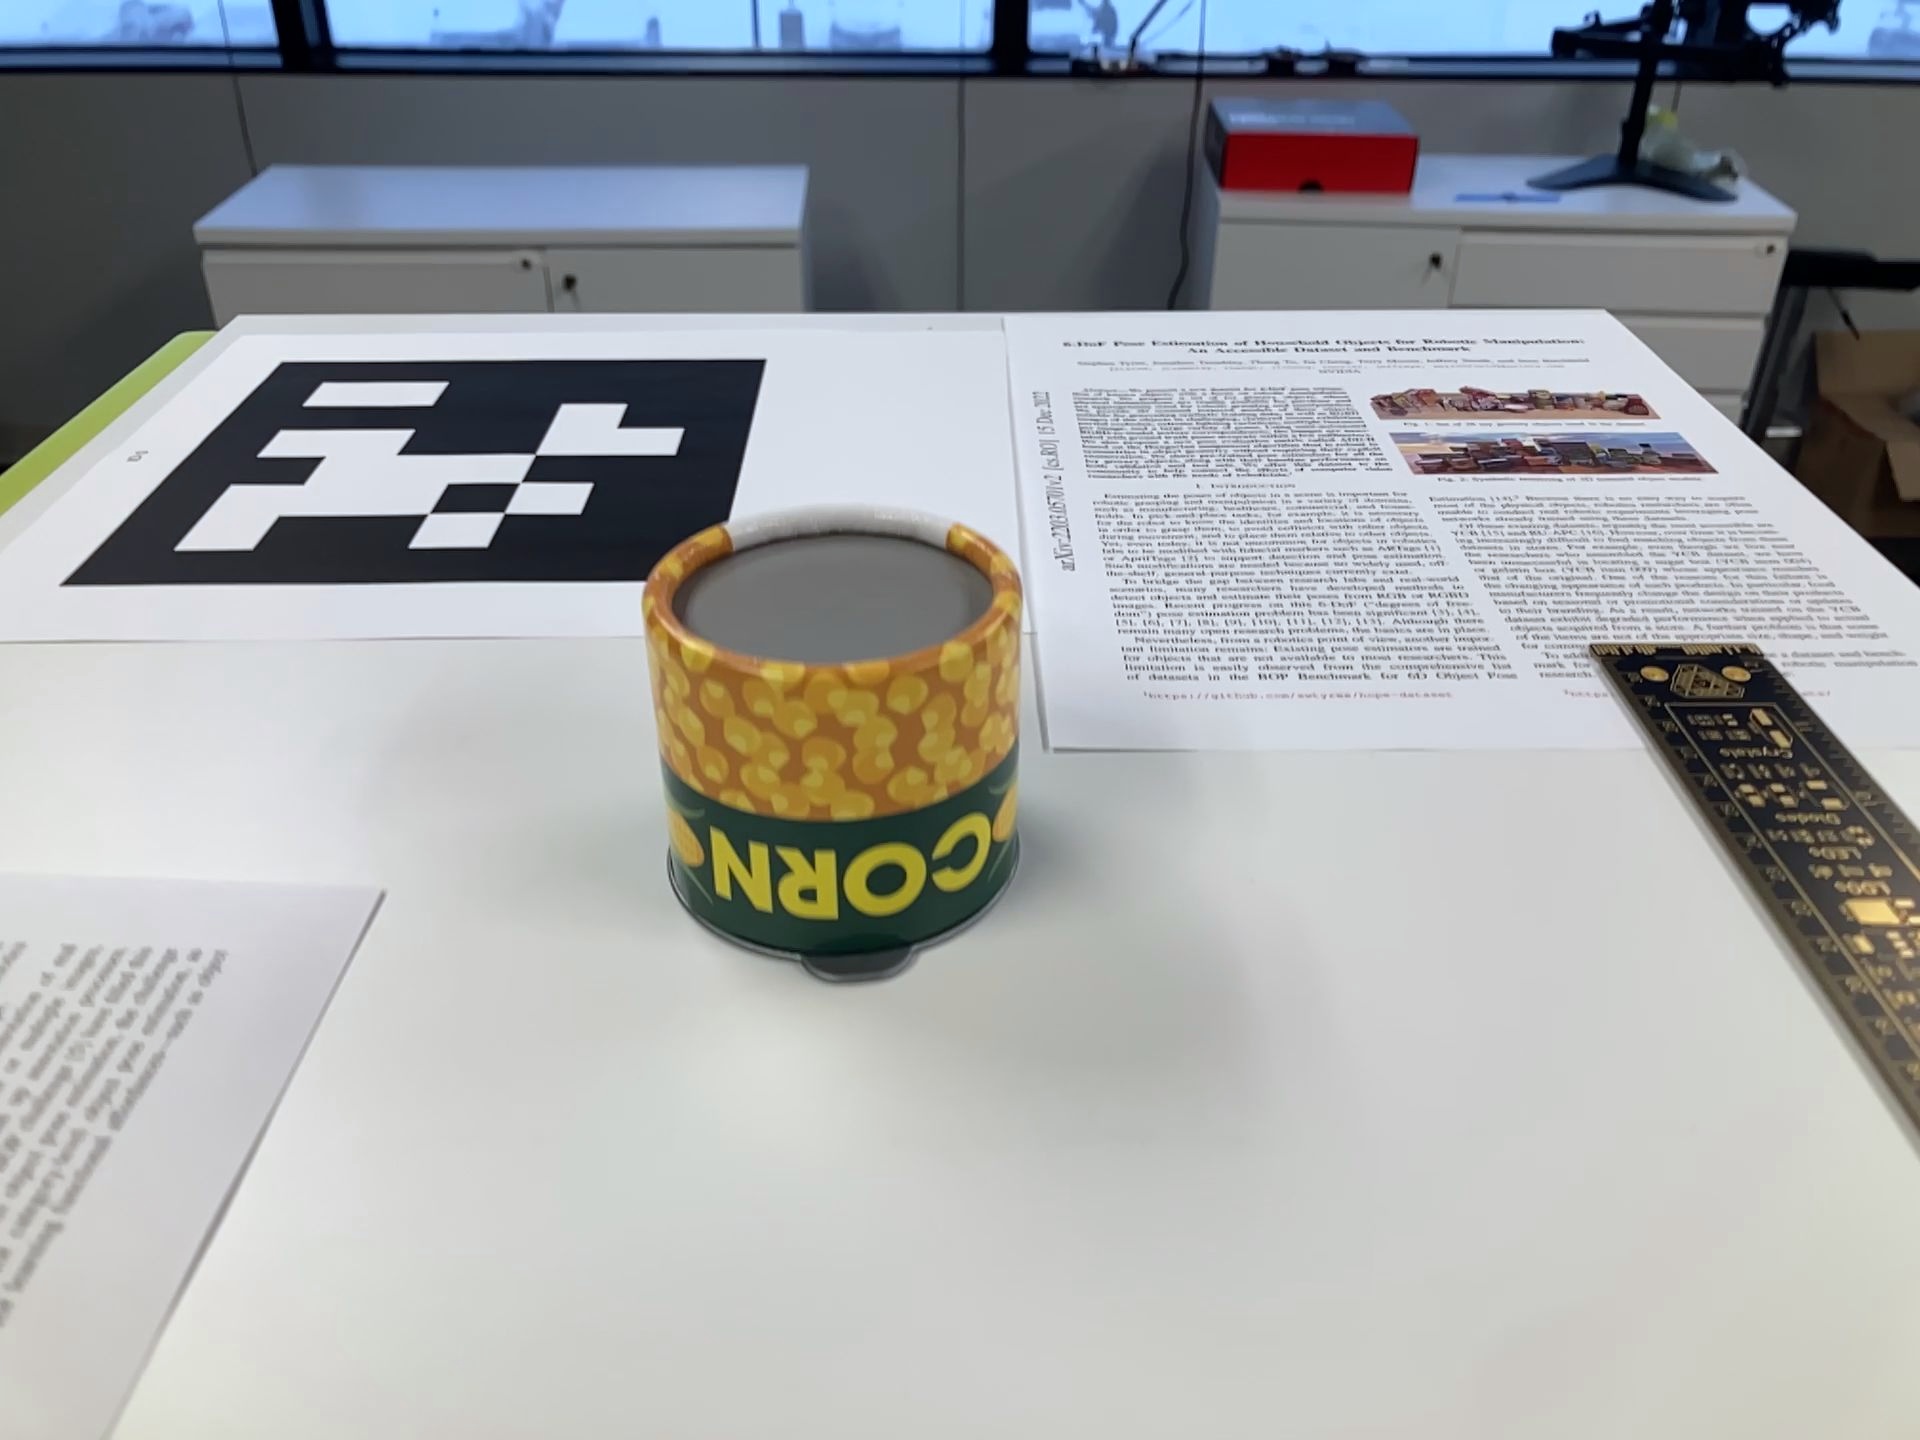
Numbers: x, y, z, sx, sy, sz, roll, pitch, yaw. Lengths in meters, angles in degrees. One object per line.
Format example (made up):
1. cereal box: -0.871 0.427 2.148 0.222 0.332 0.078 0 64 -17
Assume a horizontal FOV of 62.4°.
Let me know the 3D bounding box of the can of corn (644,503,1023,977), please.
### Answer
1. can of corn: -0.022 0.001 0.286 0.071 0.058 0.071 0 32 0
